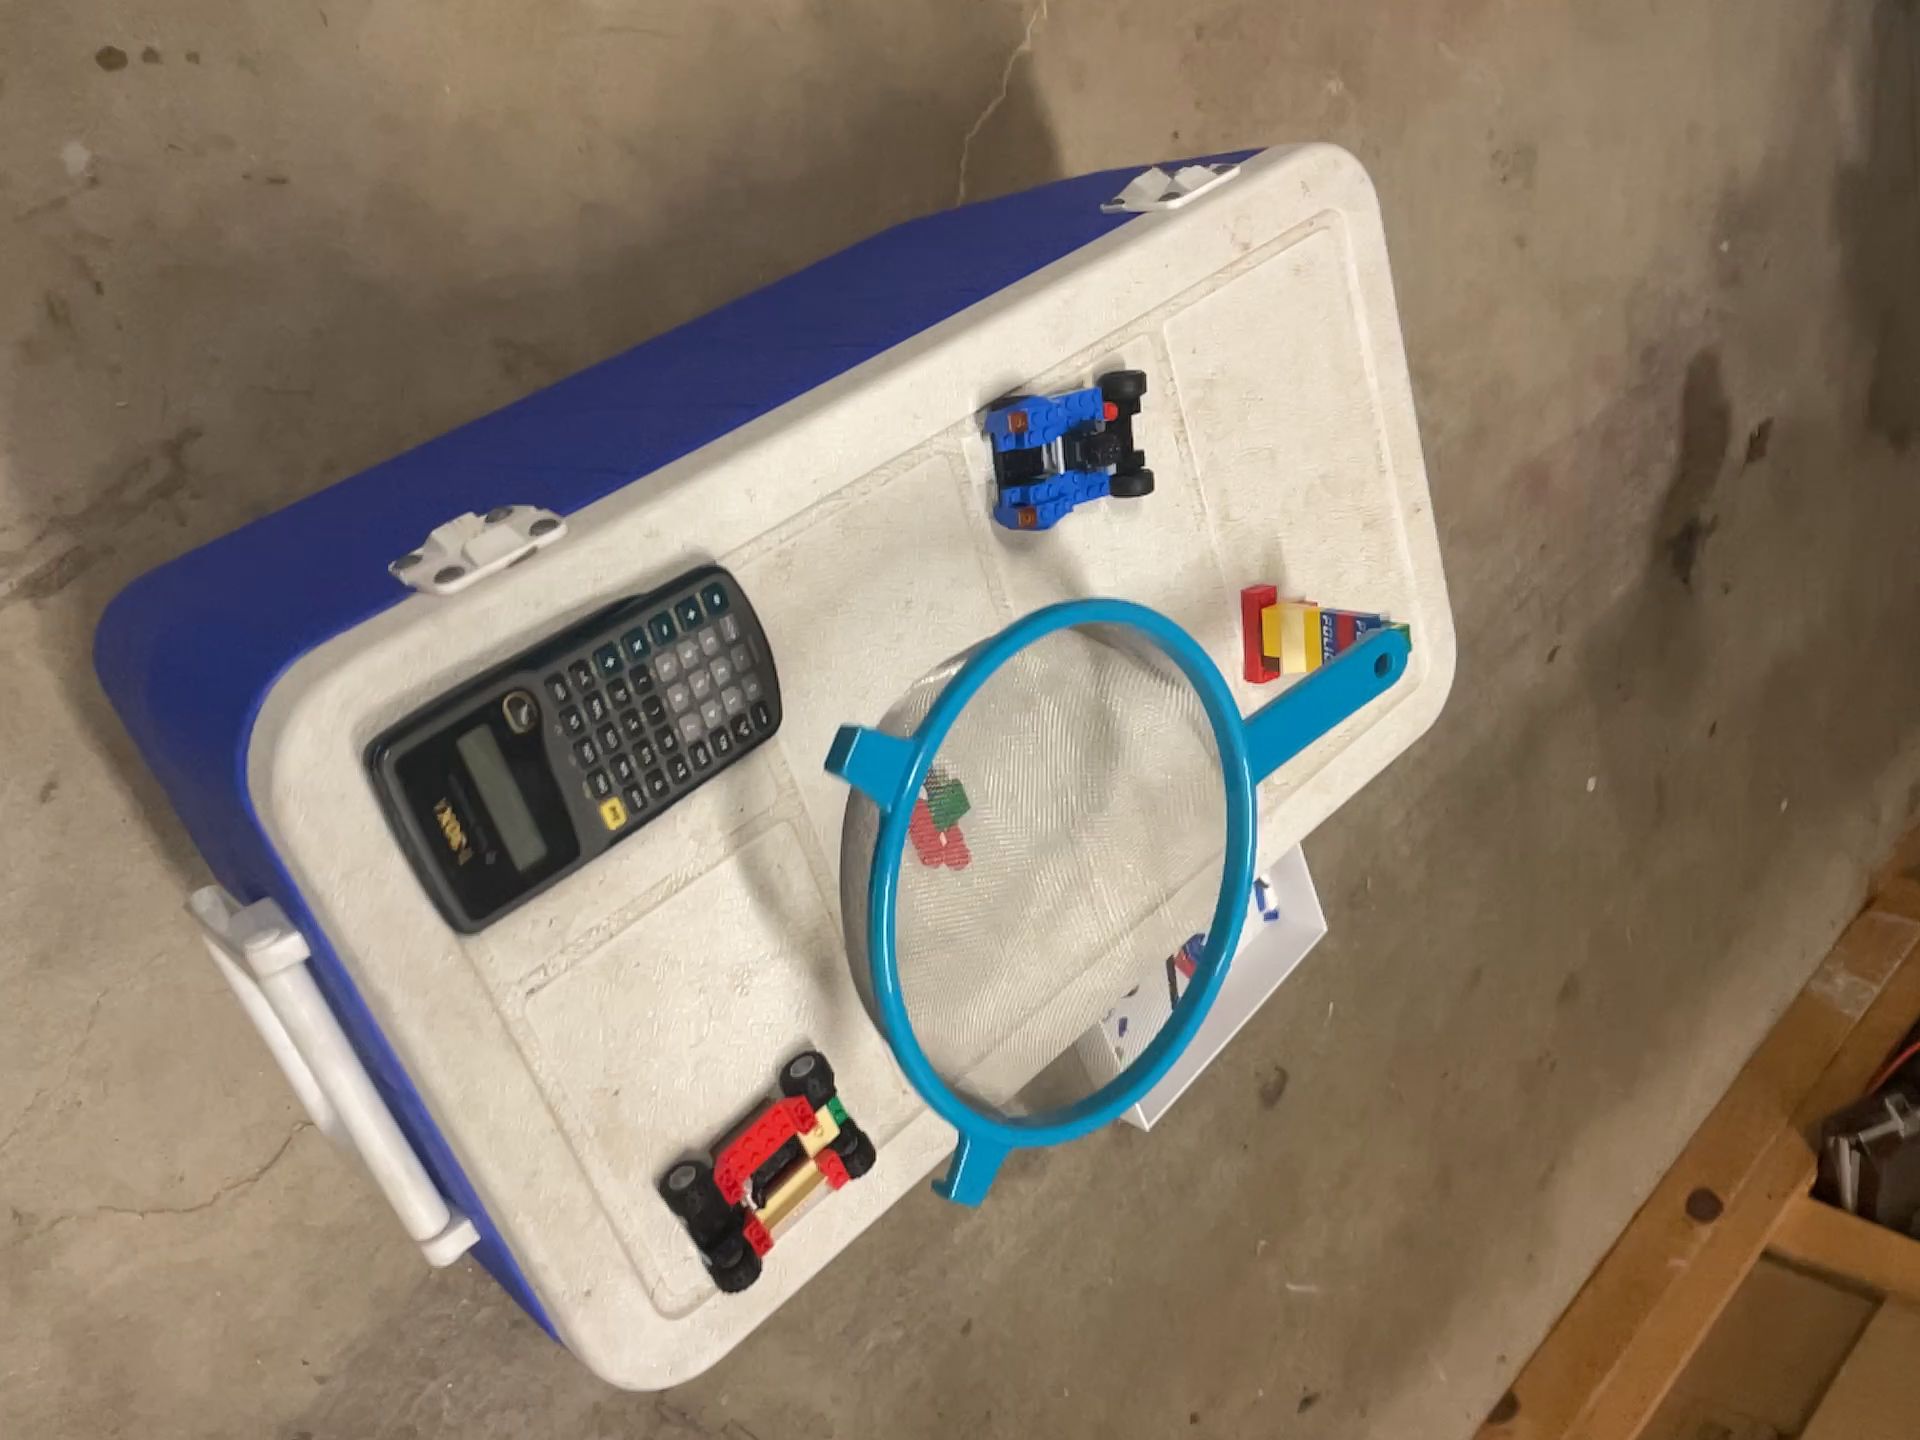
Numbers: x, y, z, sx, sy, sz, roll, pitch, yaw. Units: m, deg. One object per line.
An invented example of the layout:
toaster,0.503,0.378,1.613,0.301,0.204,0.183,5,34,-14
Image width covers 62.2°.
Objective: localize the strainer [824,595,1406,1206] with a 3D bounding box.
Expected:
strainer,0.064,0.028,0.673,0.340,0.095,0.210,-30,117,-38
